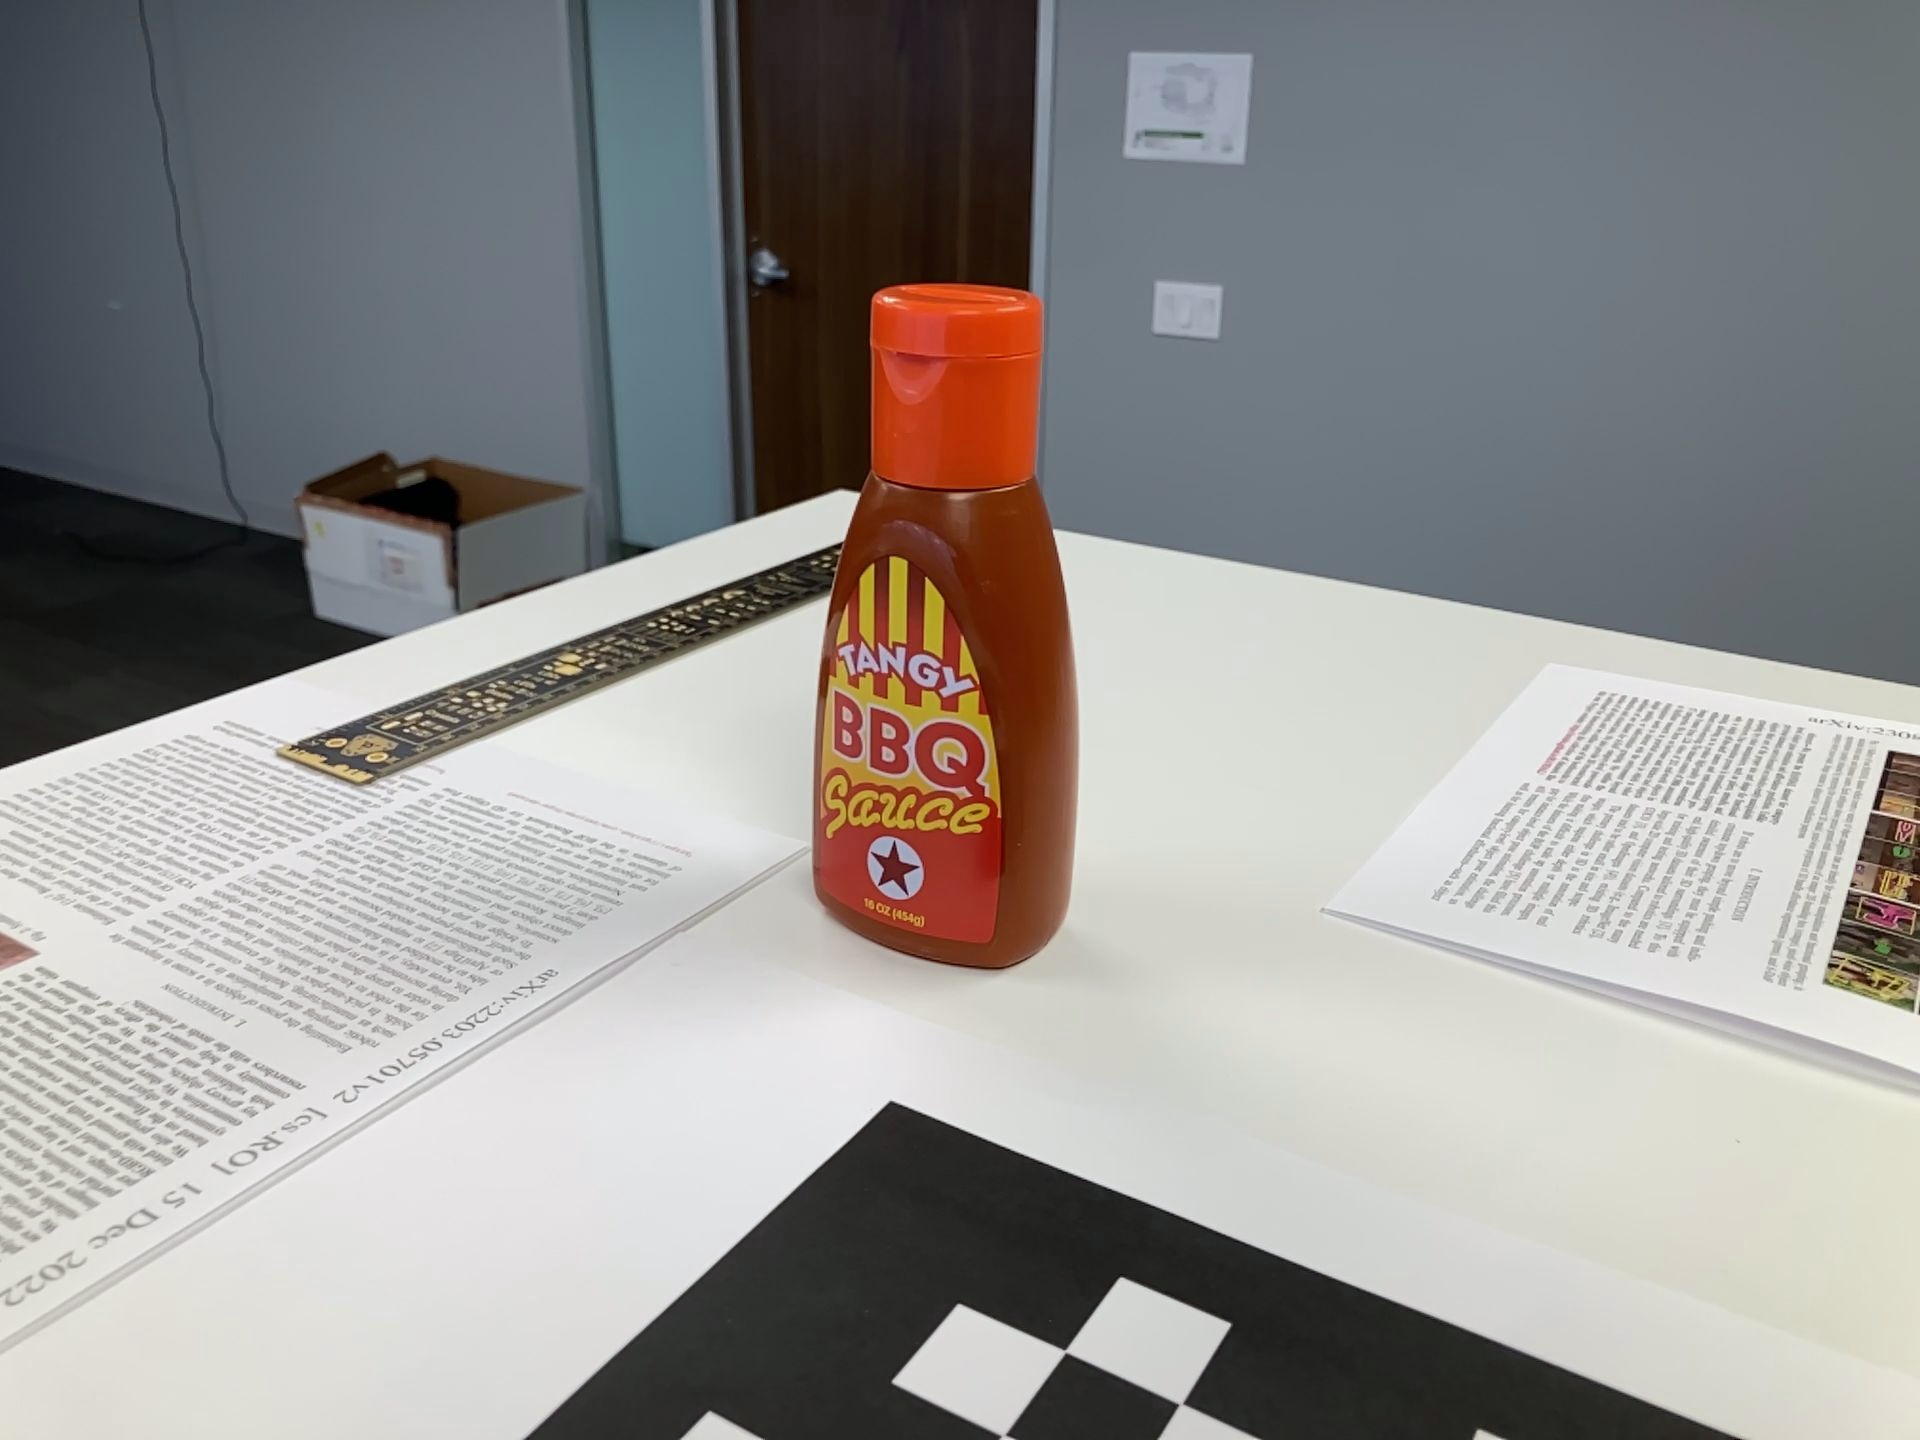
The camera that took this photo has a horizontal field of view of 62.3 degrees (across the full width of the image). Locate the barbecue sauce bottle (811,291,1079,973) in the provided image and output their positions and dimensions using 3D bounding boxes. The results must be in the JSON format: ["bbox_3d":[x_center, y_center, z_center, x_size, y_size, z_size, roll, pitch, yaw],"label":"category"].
[{"bbox_3d":[-0.003,-0.019,0.361,0.065,0.148,0.043,16,25,30],"label":"barbecue sauce bottle"}]
